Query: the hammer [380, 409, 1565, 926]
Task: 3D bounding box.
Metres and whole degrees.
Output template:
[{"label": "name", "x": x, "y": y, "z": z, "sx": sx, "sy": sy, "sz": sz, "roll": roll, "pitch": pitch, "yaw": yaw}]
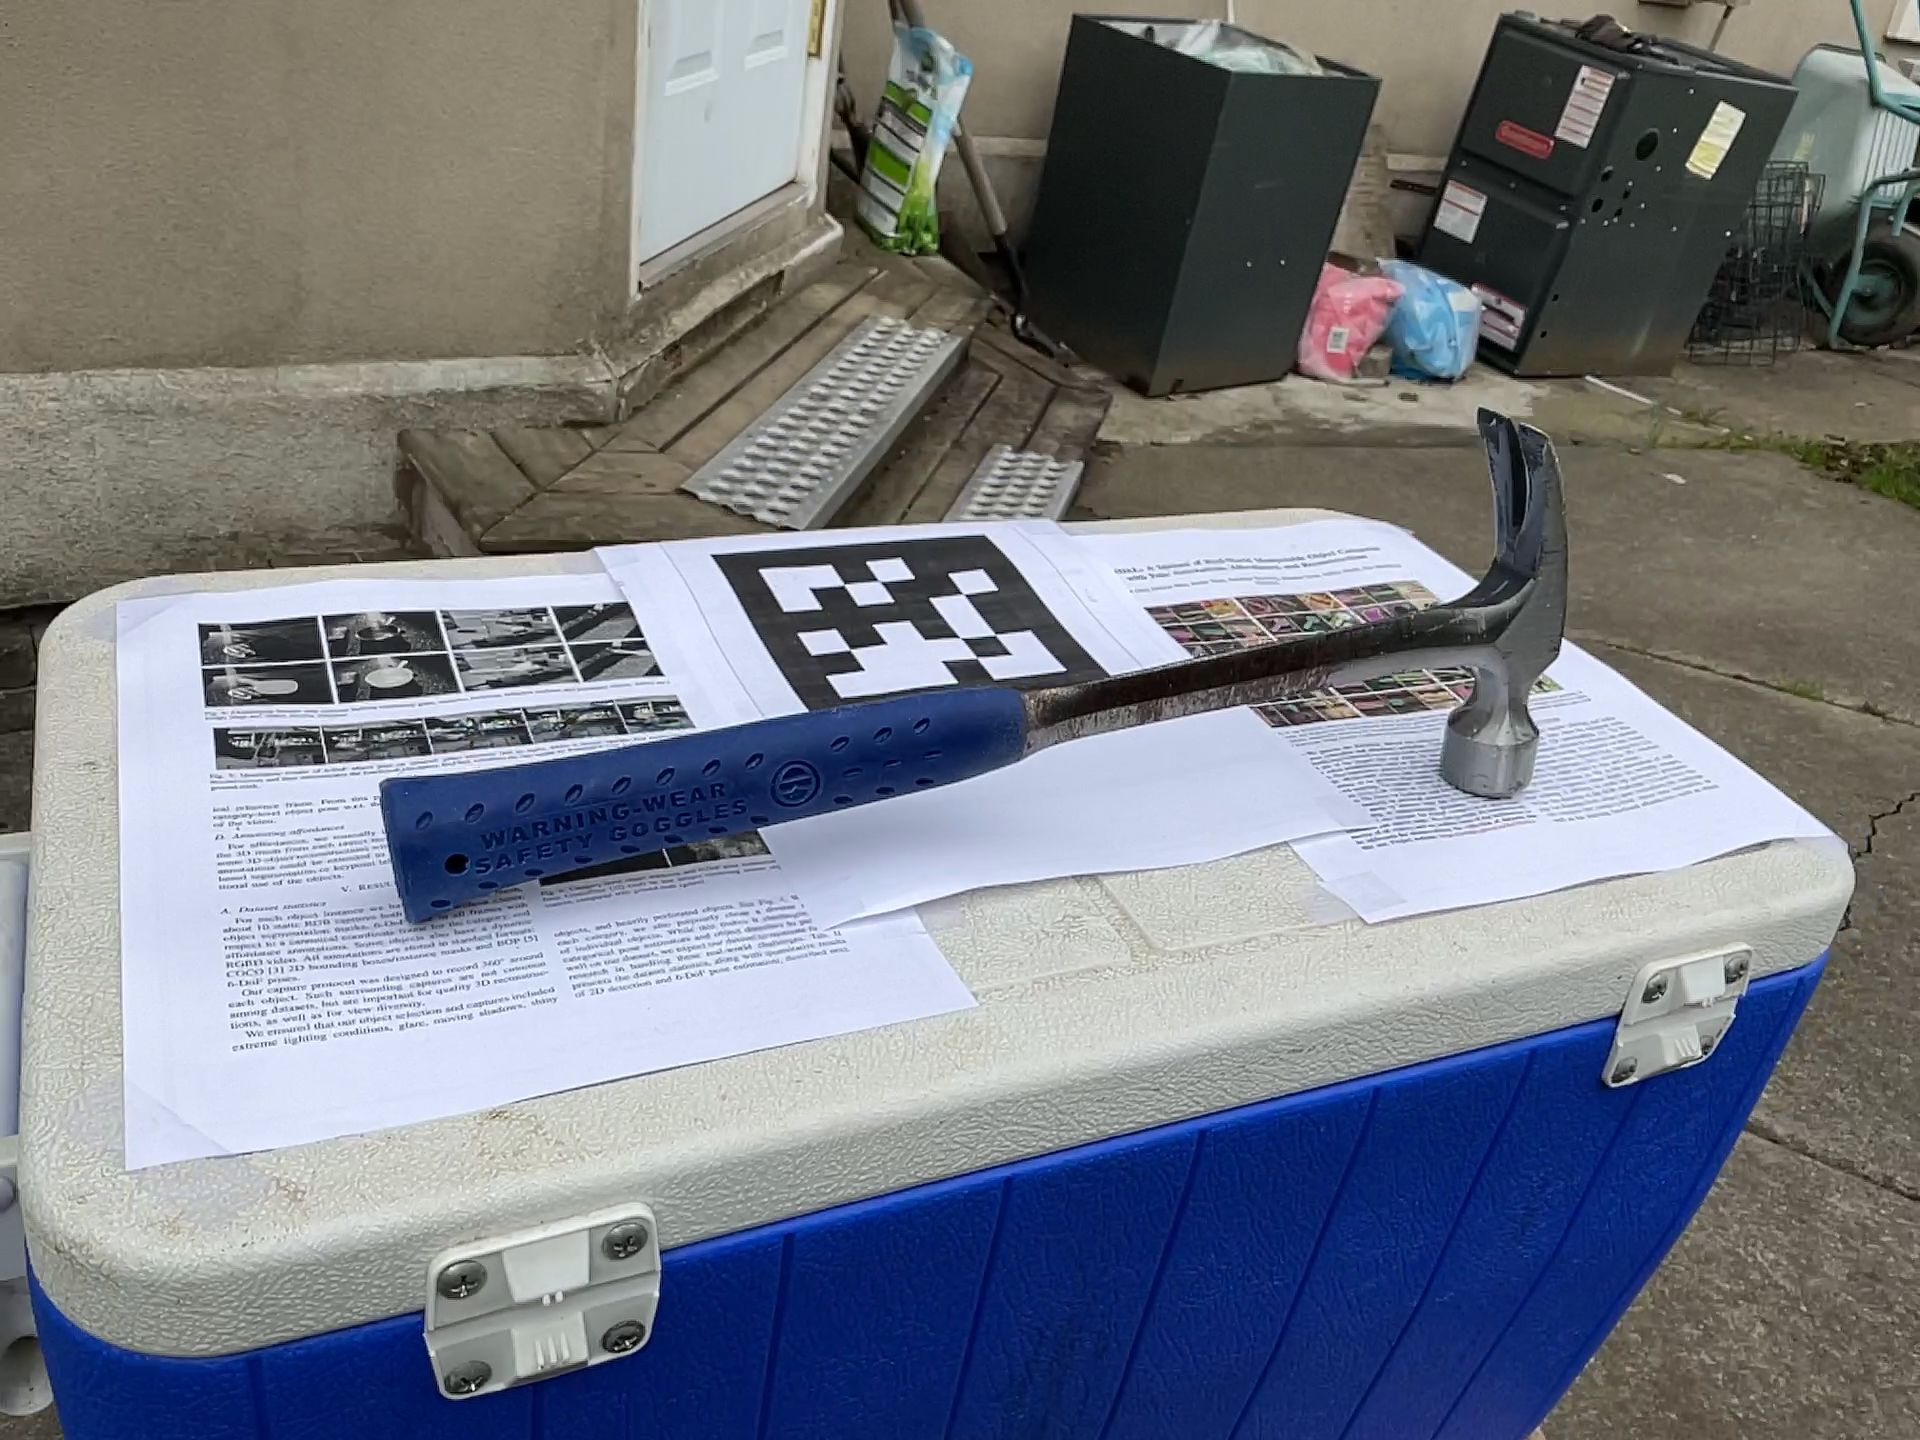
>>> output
[{"label": "hammer", "x": 0.027, "y": -0.006, "z": 0.514, "sx": 0.405, "sy": 0.144, "sz": 0.035, "roll": -11, "pitch": 30, "yaw": -20}]
